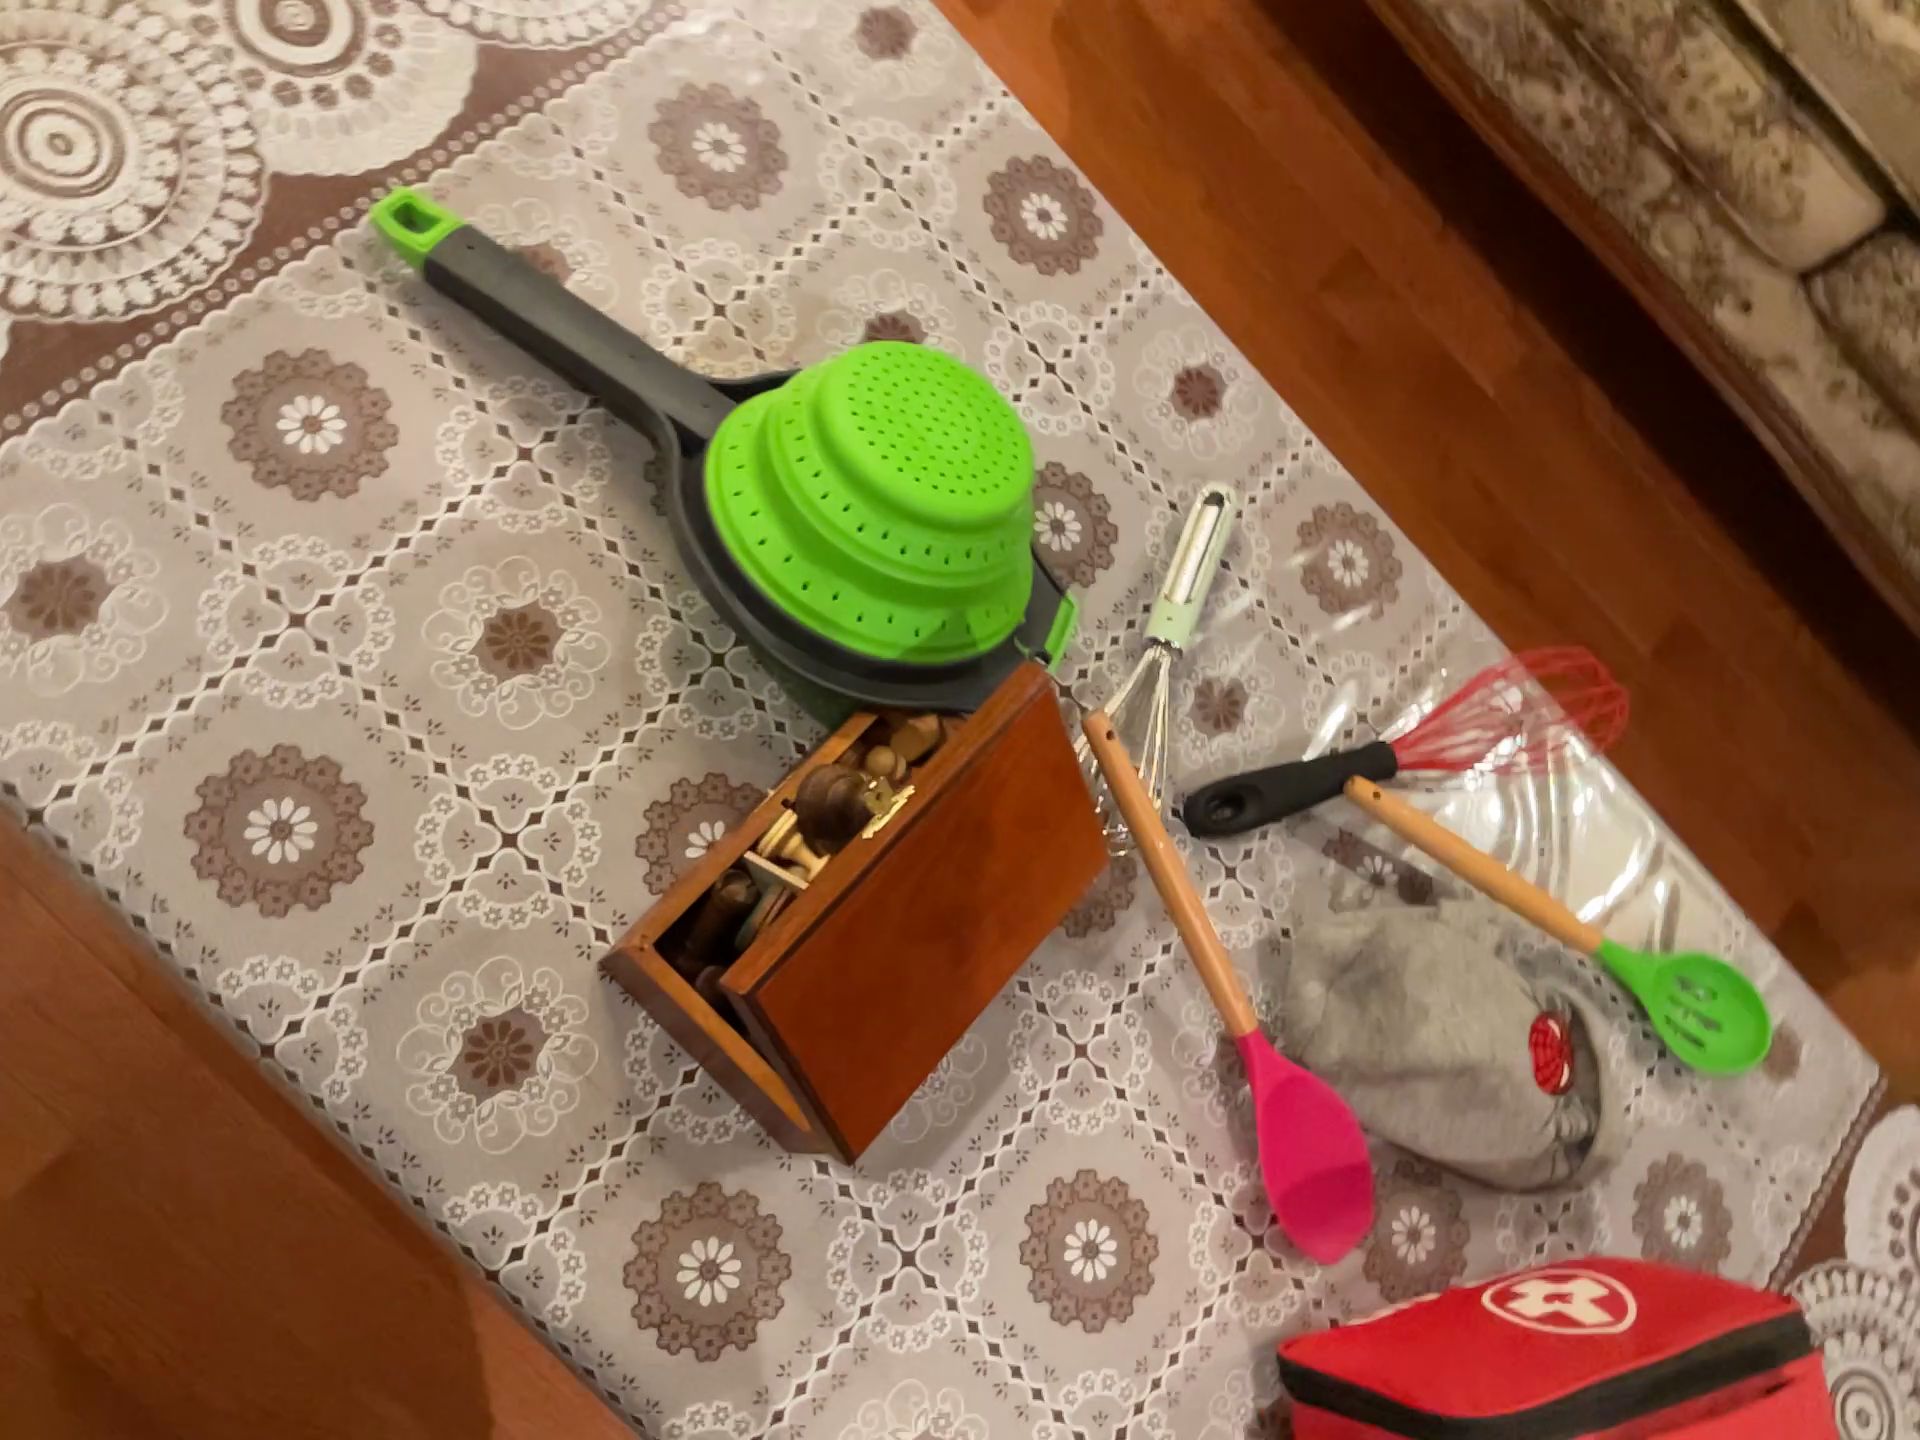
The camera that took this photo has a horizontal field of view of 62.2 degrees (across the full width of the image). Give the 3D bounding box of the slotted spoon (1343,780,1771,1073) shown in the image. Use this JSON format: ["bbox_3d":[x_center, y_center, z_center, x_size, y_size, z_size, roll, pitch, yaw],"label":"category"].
[{"bbox_3d":[0.342,0.114,0.911,0.313,0.031,0.070,31,67,-15],"label":"slotted spoon"}]

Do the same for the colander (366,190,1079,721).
[{"bbox_3d":[-0.100,-0.156,0.753,0.397,0.094,0.205,34,46,-4],"label":"colander"}]

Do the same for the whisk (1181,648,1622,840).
[{"bbox_3d":[0.256,0.018,0.900,0.296,0.073,0.073,-15,89,-18],"label":"whisk"}]

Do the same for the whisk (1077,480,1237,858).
[{"bbox_3d":[0.105,-0.031,0.861,0.057,0.059,0.246,54,52,-49],"label":"whisk"}]

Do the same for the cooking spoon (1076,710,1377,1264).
[{"bbox_3d":[0.135,0.136,0.808,0.069,0.017,0.319,-32,101,-28],"label":"cooking spoon"}]
